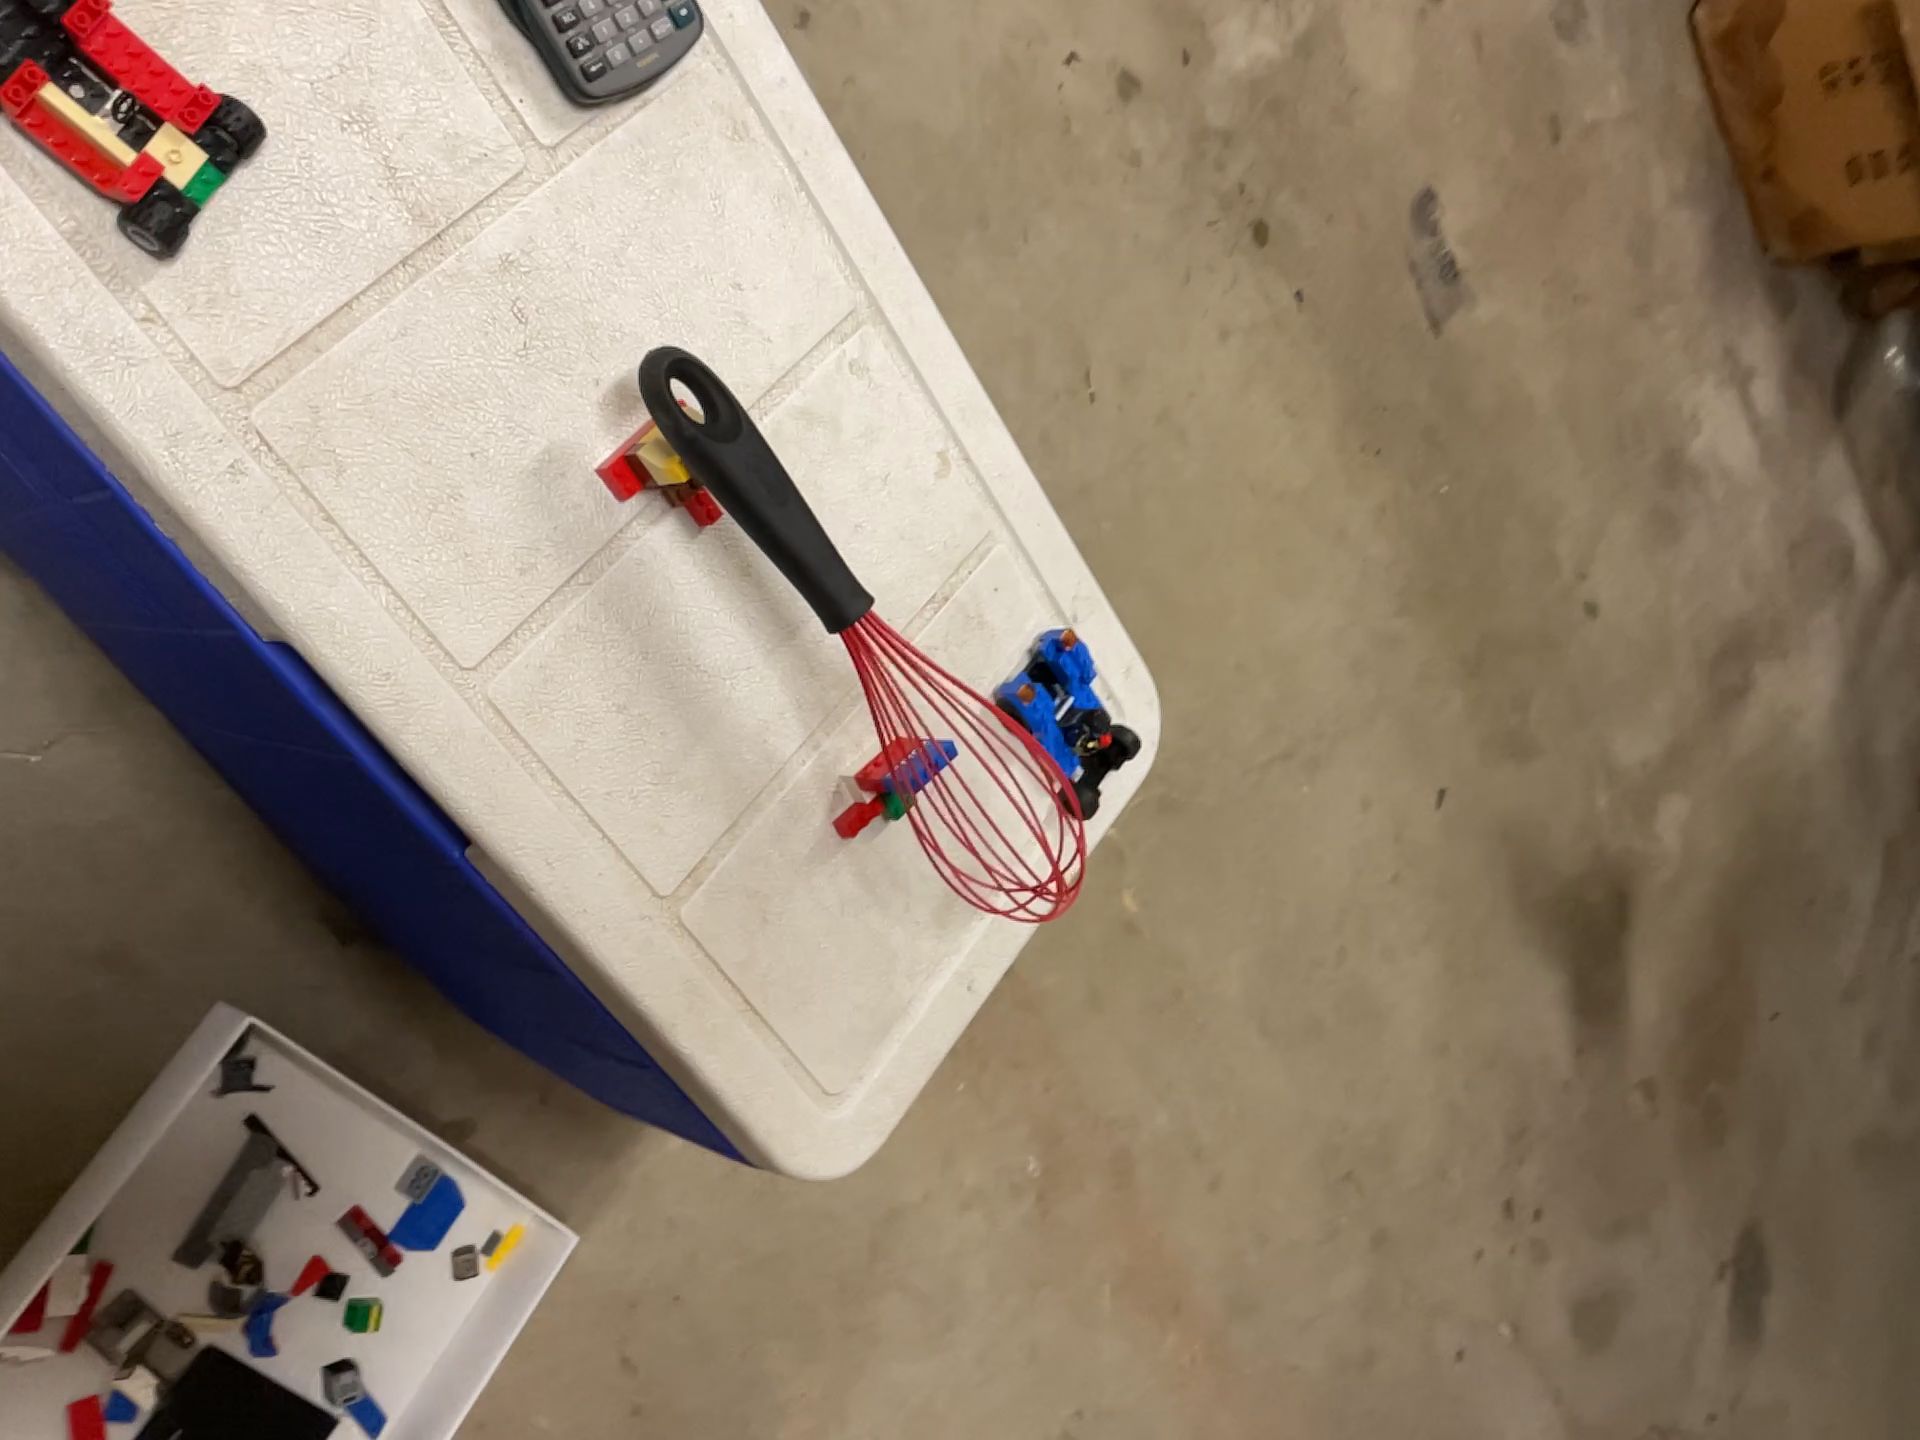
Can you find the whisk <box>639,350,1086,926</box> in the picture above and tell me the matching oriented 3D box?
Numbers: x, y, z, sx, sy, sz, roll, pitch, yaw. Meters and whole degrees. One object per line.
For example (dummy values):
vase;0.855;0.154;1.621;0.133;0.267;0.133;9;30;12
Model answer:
whisk;-0.034;-0.028;0.659;0.073;0.073;0.295;-47;112;-27
